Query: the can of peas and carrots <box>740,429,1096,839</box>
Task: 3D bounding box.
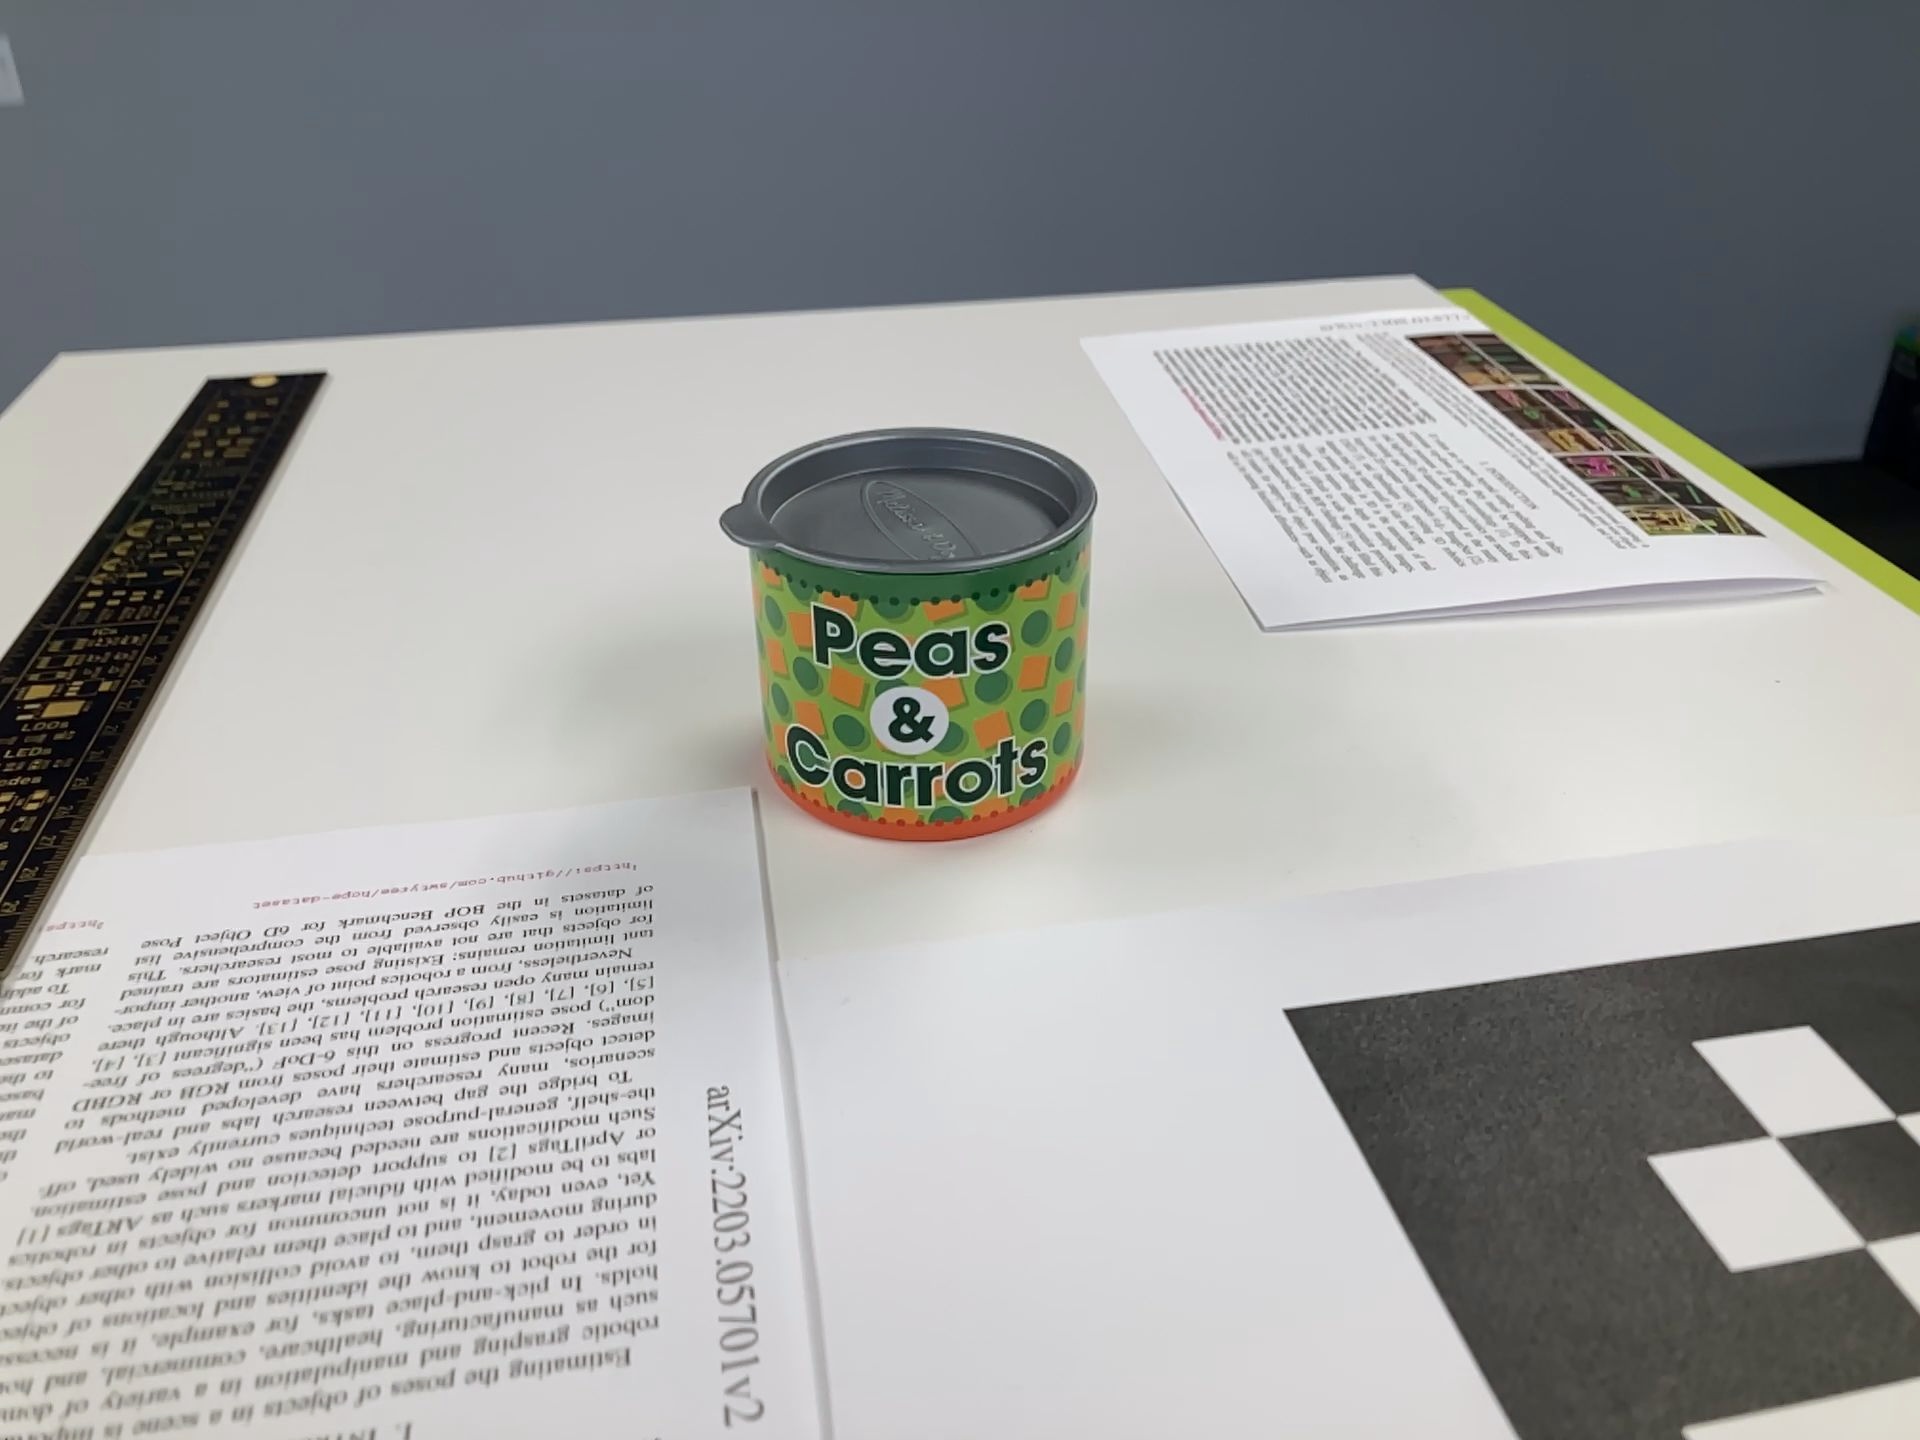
[{"bbox_3d":[-0.008,-0.017,0.308,0.071,0.059,0.071,0,31,0],"label":"can of peas and carrots"}]
